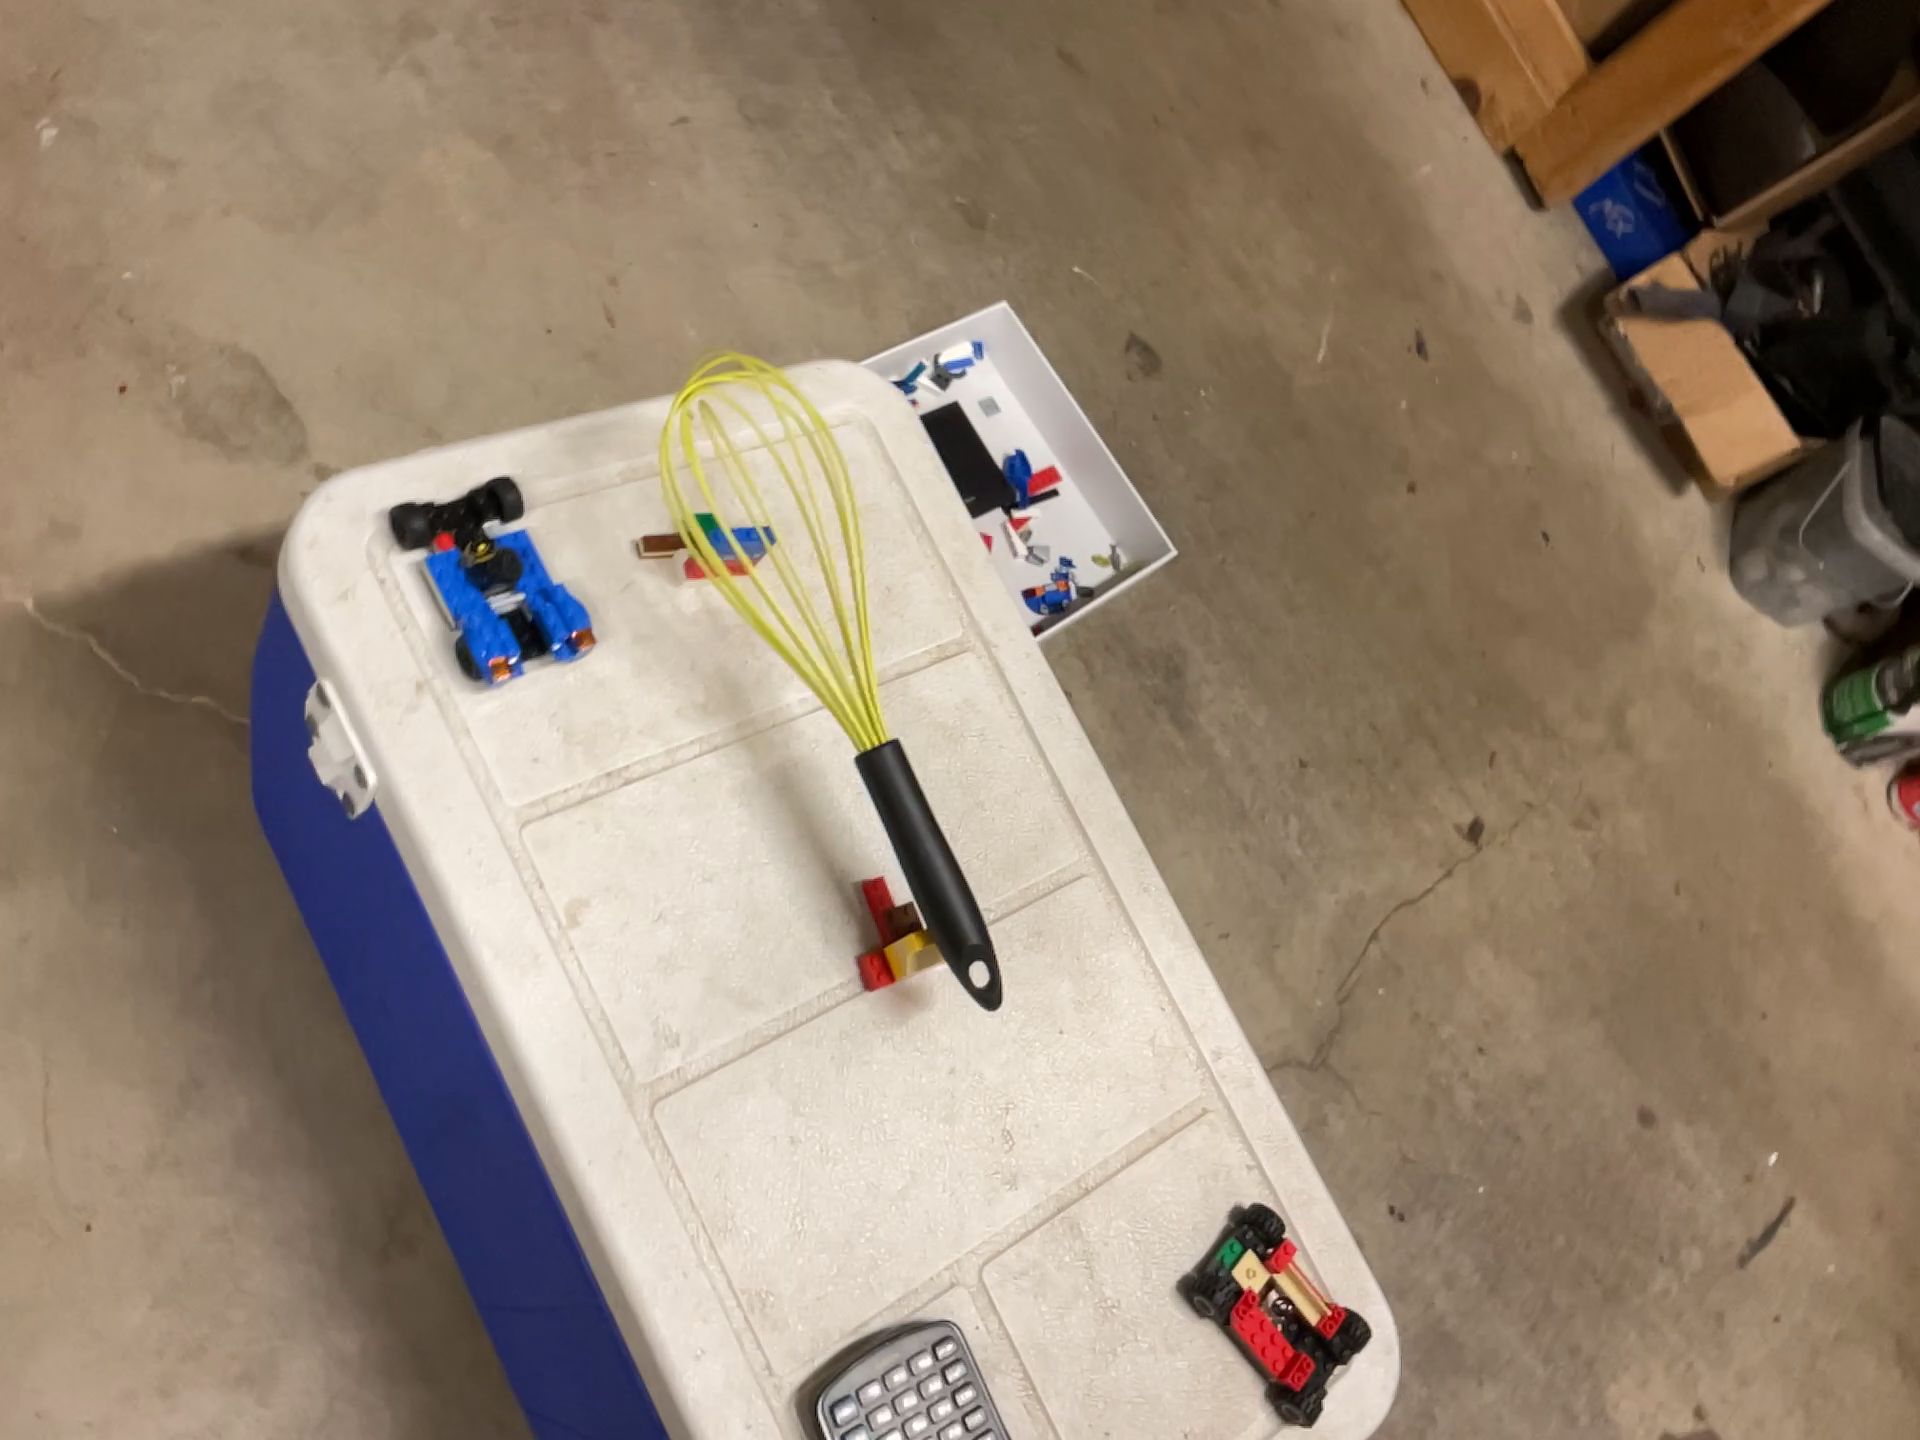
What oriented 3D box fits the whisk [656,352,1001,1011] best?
[{"bbox_3d":[-0.050,-0.015,0.699,0.080,0.067,0.311,-24,91,12],"label":"whisk"}]
